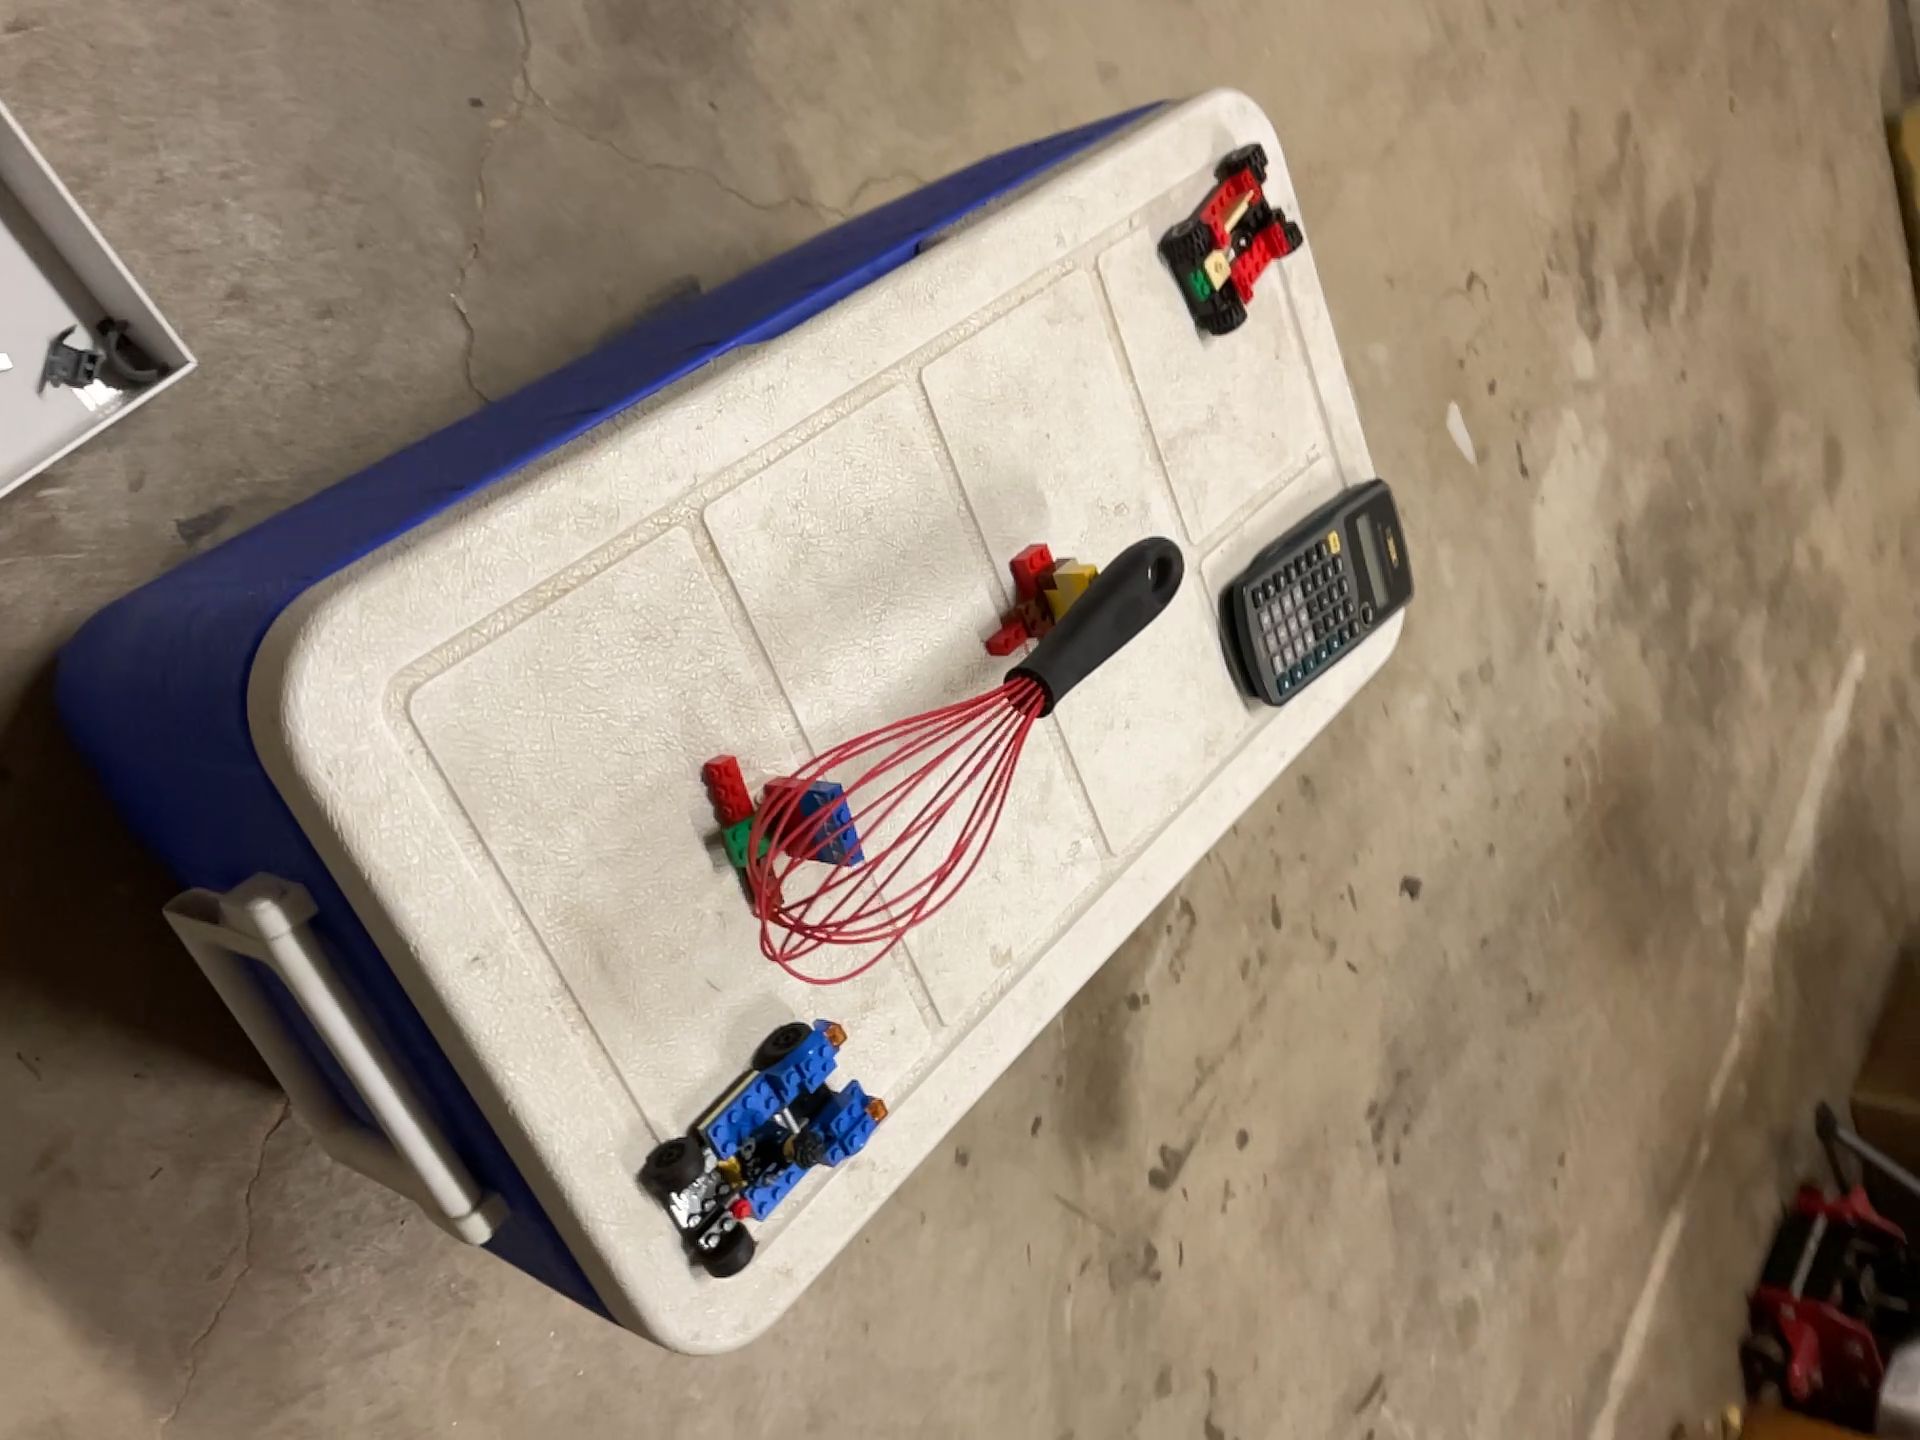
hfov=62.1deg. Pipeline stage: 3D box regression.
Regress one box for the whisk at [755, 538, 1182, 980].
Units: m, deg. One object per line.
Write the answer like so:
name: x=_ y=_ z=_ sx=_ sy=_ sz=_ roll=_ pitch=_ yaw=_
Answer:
whisk: x=0.016 y=-0.001 z=0.618 sx=0.296 sy=0.073 sz=0.073 roll=-43 pitch=117 yaw=-43
